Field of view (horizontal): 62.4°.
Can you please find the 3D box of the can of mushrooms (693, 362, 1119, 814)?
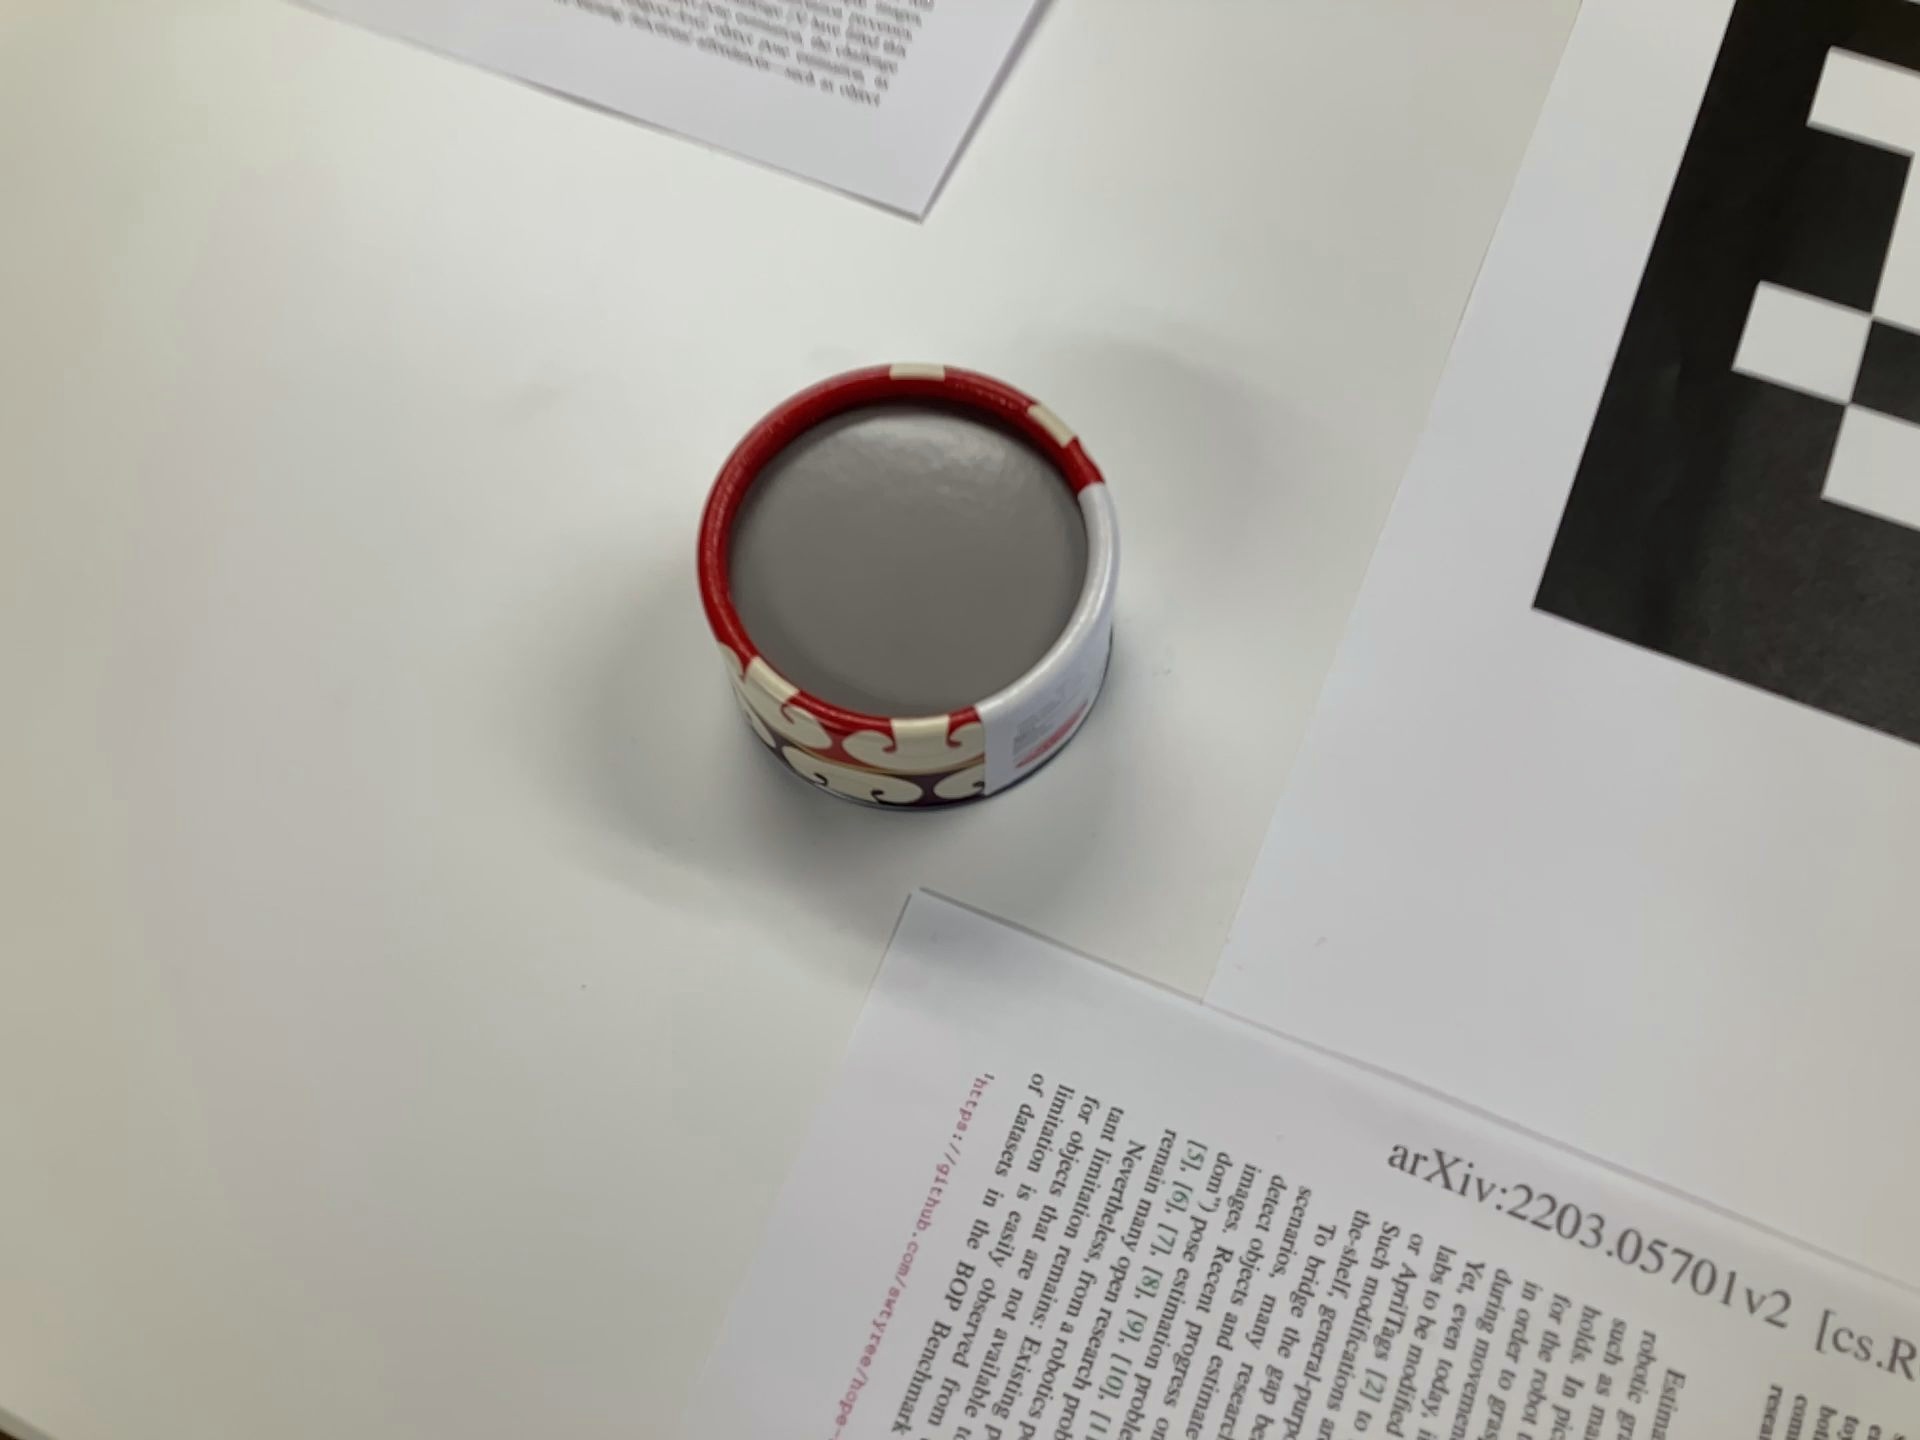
[{"bbox_3d":[-0.010,-0.022,0.254,0.071,0.033,0.071,-1,68,3],"label":"can of mushrooms"}]
